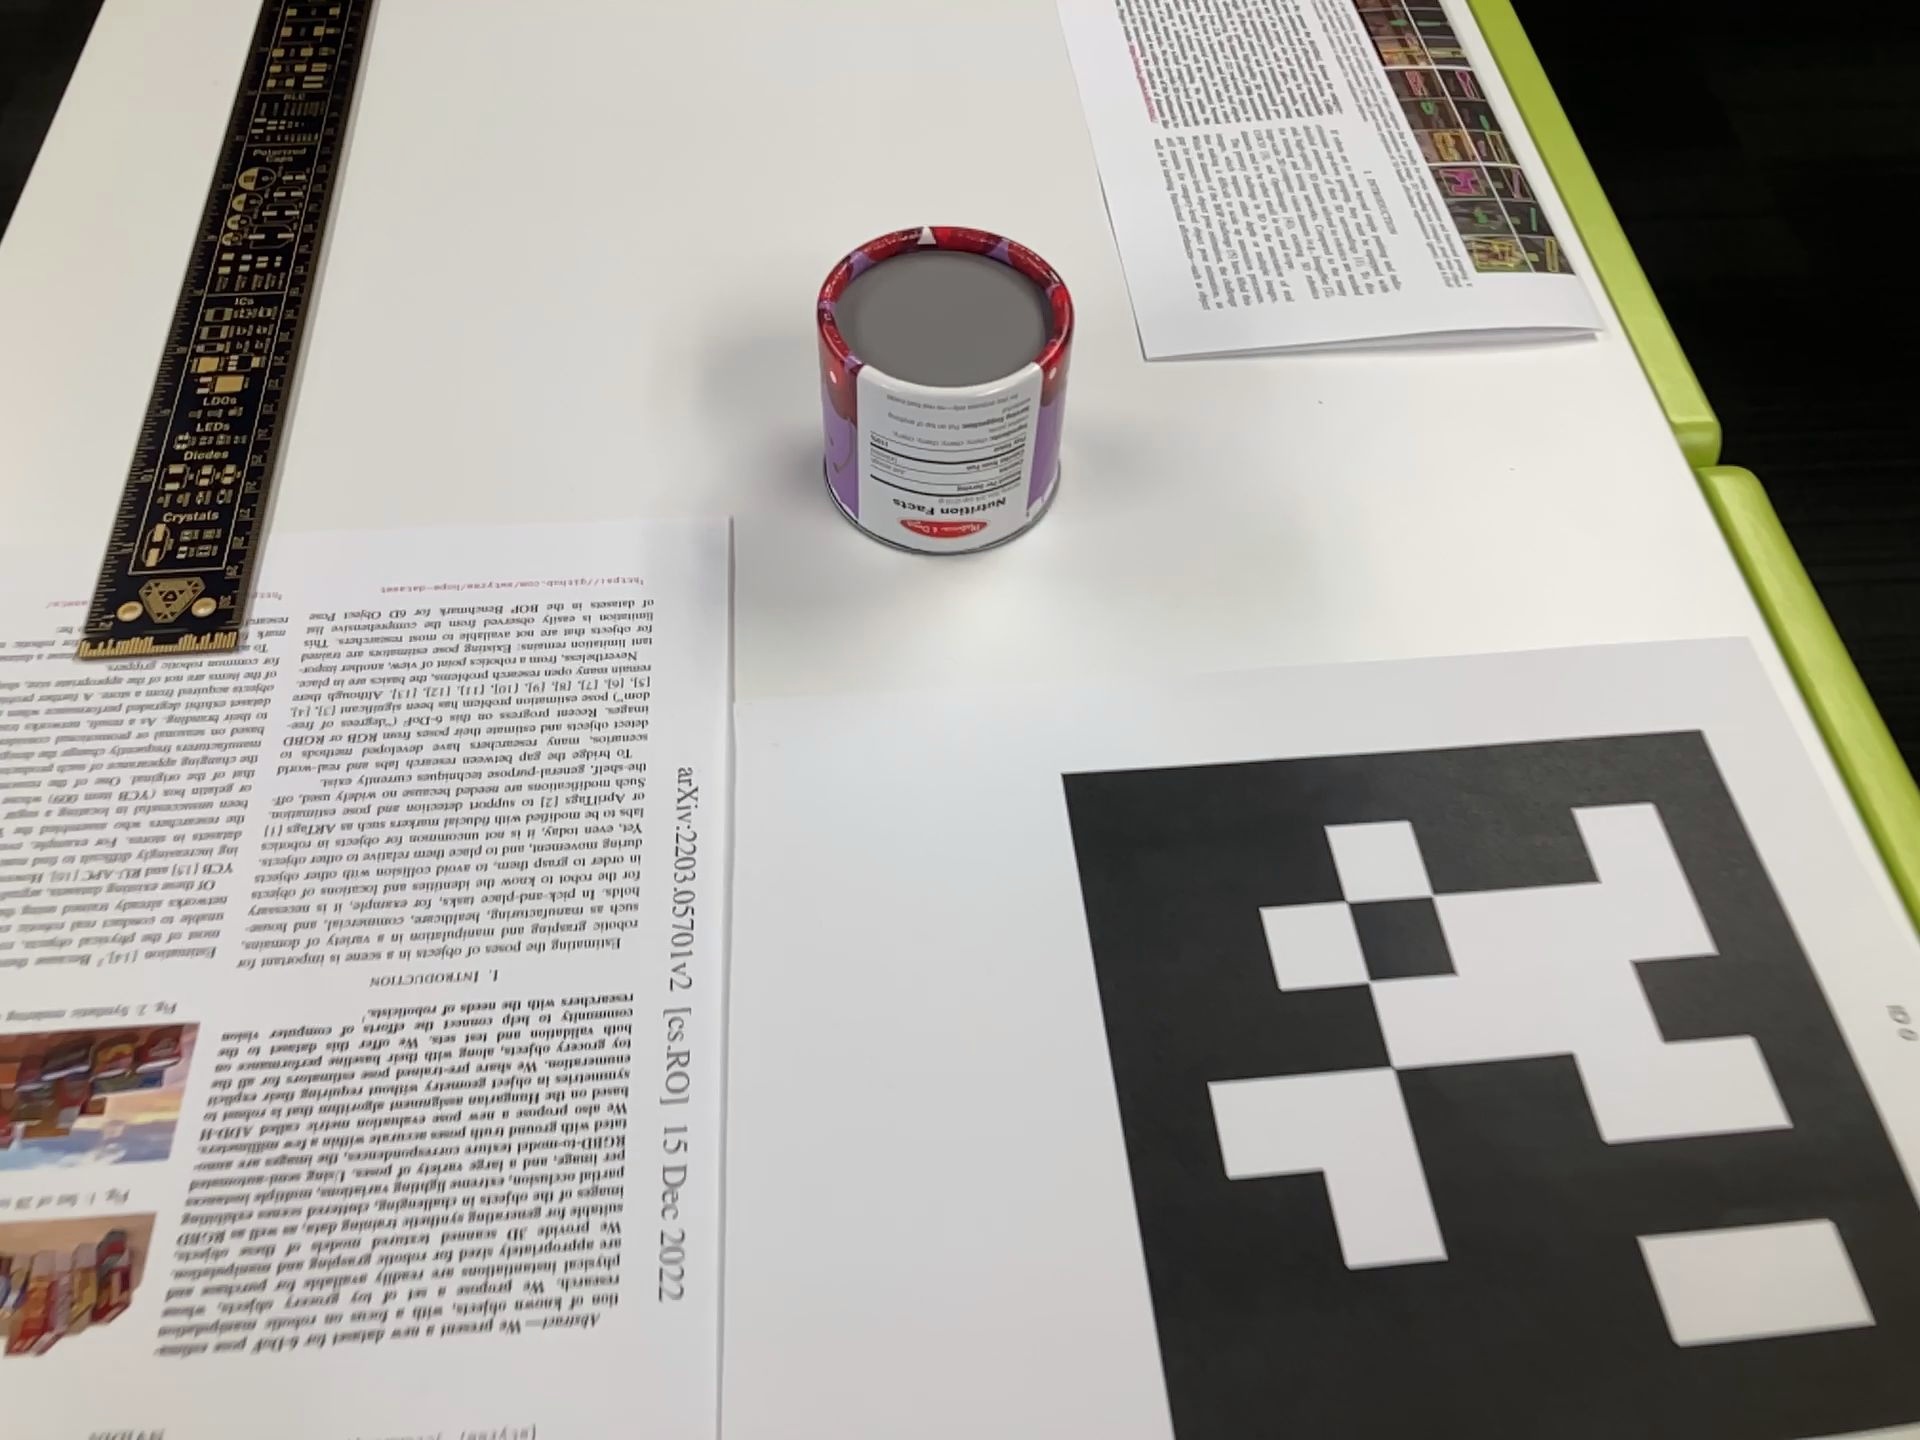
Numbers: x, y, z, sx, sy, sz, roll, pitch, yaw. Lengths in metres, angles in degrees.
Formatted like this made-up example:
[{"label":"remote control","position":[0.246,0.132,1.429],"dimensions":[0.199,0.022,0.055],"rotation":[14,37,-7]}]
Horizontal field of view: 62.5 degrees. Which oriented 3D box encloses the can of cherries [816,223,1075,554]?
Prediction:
[{"label":"can of cherries","position":[-0.005,-0.090,0.420],"dimensions":[0.071,0.058,0.071],"rotation":[1,54,-1]}]
